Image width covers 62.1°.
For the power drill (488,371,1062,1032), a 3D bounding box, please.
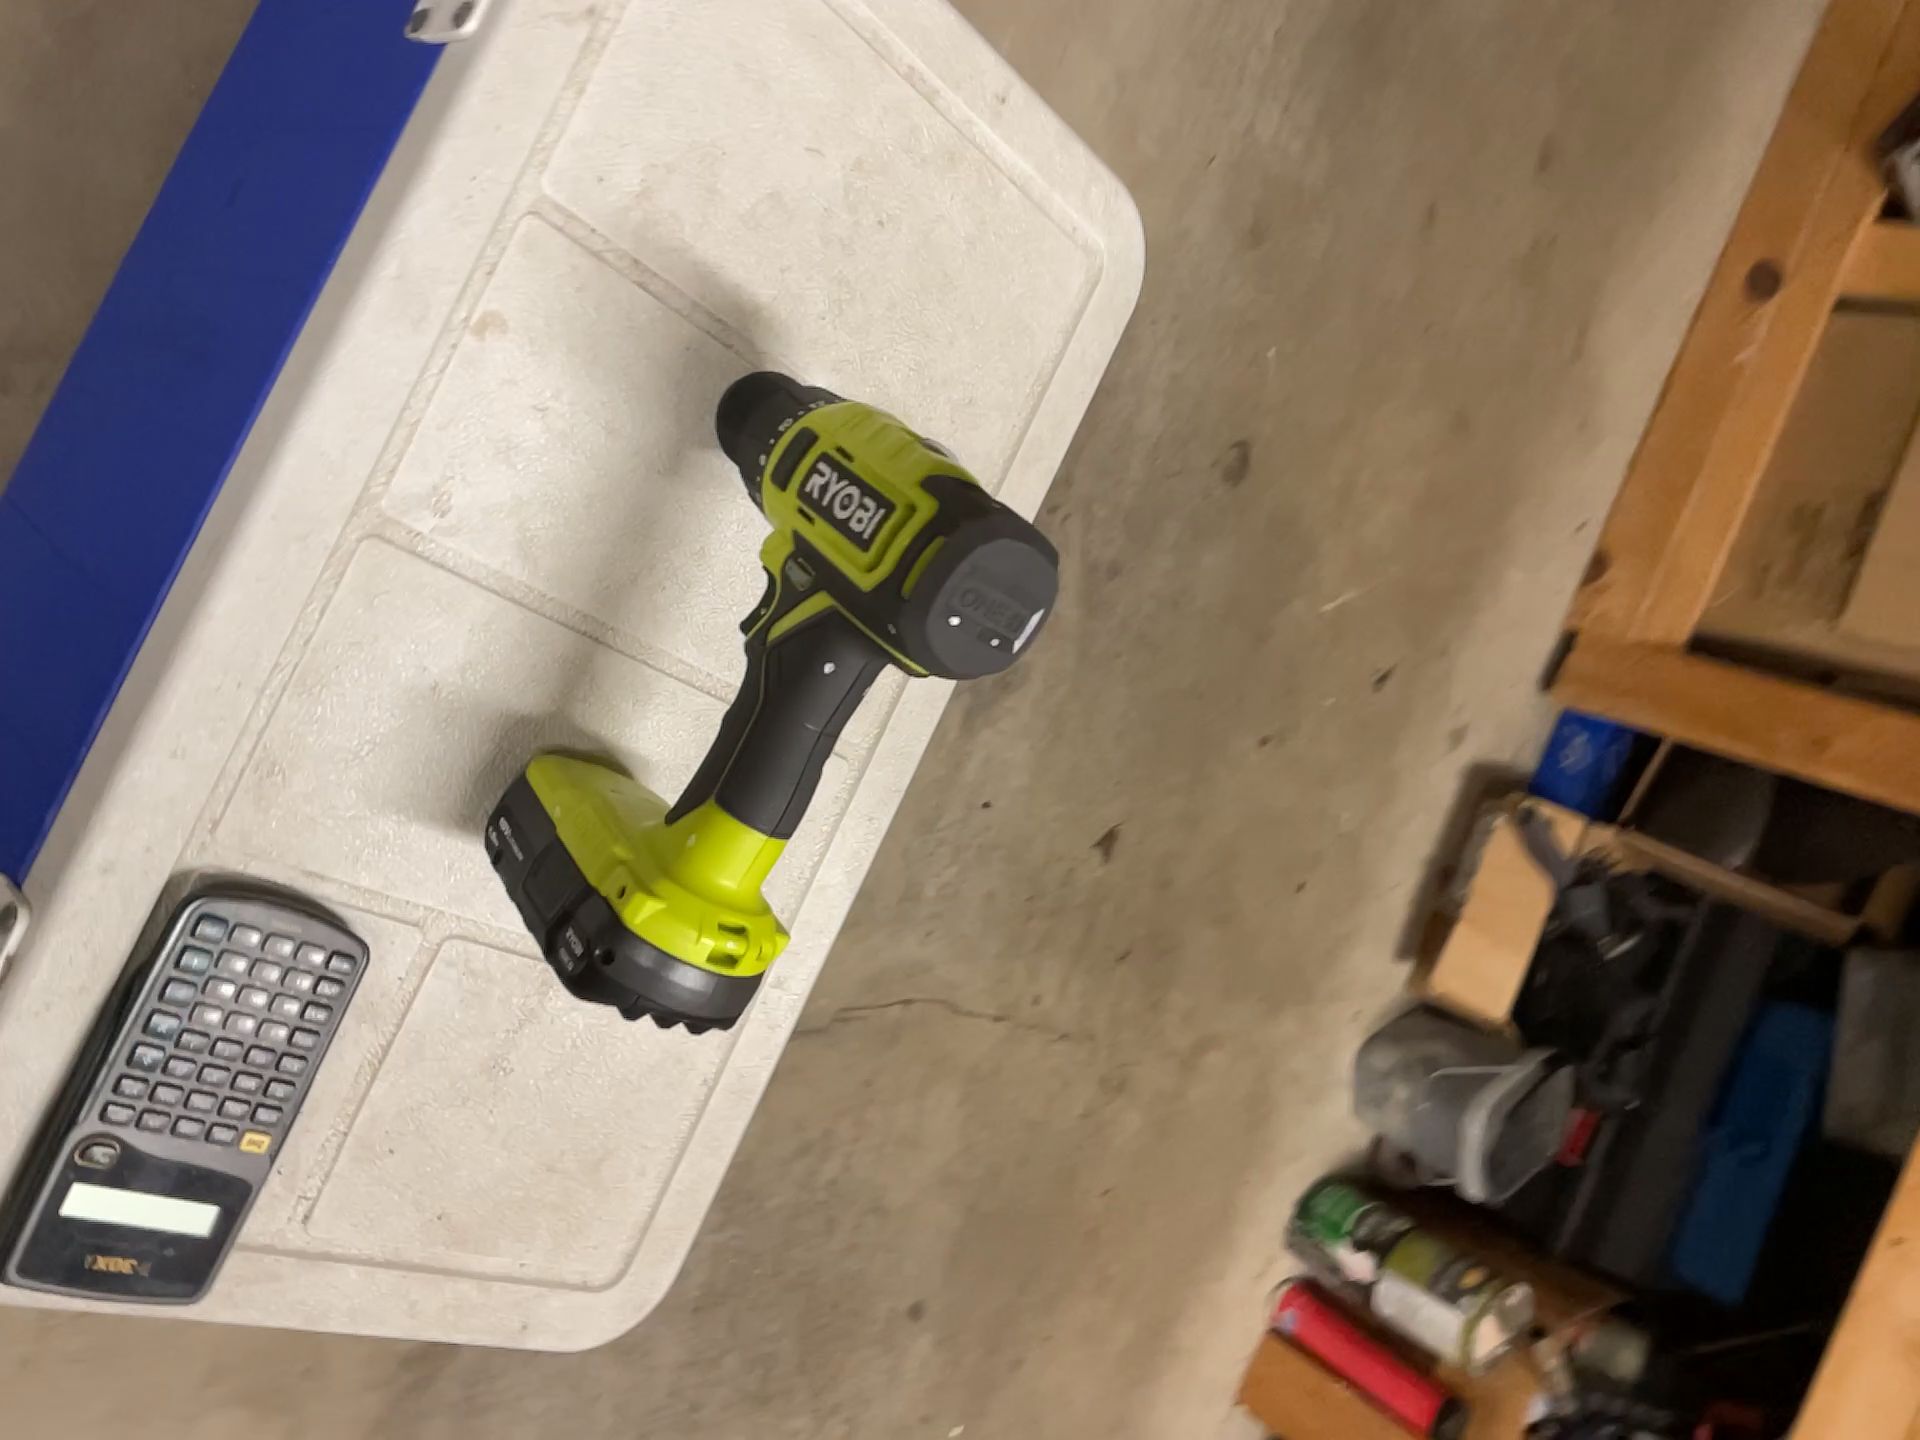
[{"bbox_3d":[-0.082,-0.018,0.610,0.080,0.190,0.228,25,102,-45],"label":"power drill"}]
